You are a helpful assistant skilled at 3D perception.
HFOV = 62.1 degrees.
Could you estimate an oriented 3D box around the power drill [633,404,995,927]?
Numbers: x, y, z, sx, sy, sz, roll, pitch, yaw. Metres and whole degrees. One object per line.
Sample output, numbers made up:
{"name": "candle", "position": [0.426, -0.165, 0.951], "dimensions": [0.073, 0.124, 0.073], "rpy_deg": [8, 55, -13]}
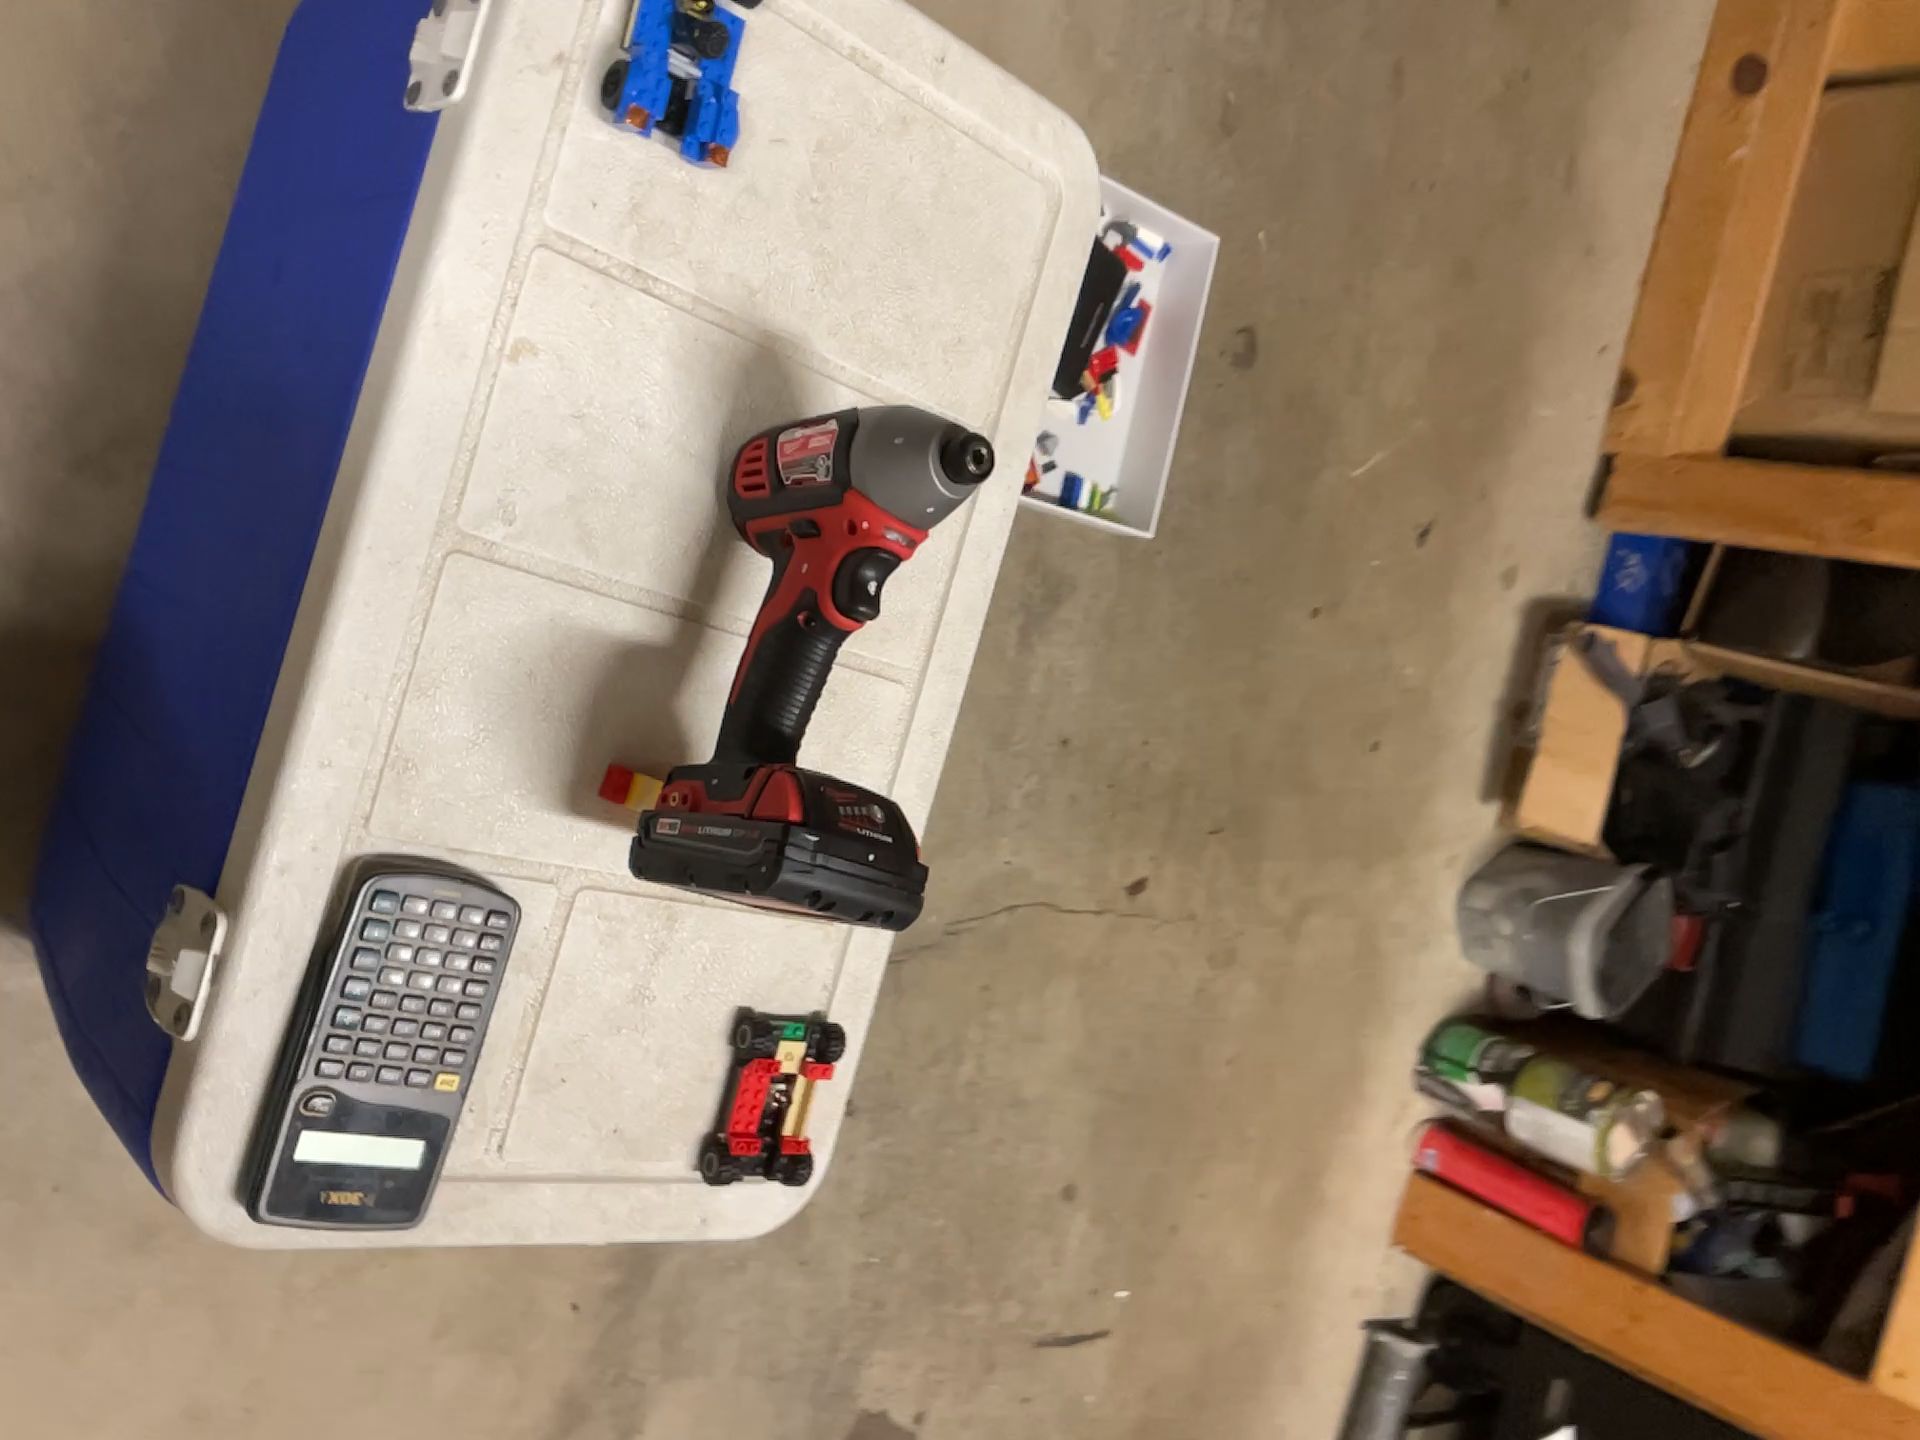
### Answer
{"name": "power drill", "position": [-0.056, -0.029, 0.681], "dimensions": [0.078, 0.143, 0.220], "rpy_deg": [22, 73, -42]}
